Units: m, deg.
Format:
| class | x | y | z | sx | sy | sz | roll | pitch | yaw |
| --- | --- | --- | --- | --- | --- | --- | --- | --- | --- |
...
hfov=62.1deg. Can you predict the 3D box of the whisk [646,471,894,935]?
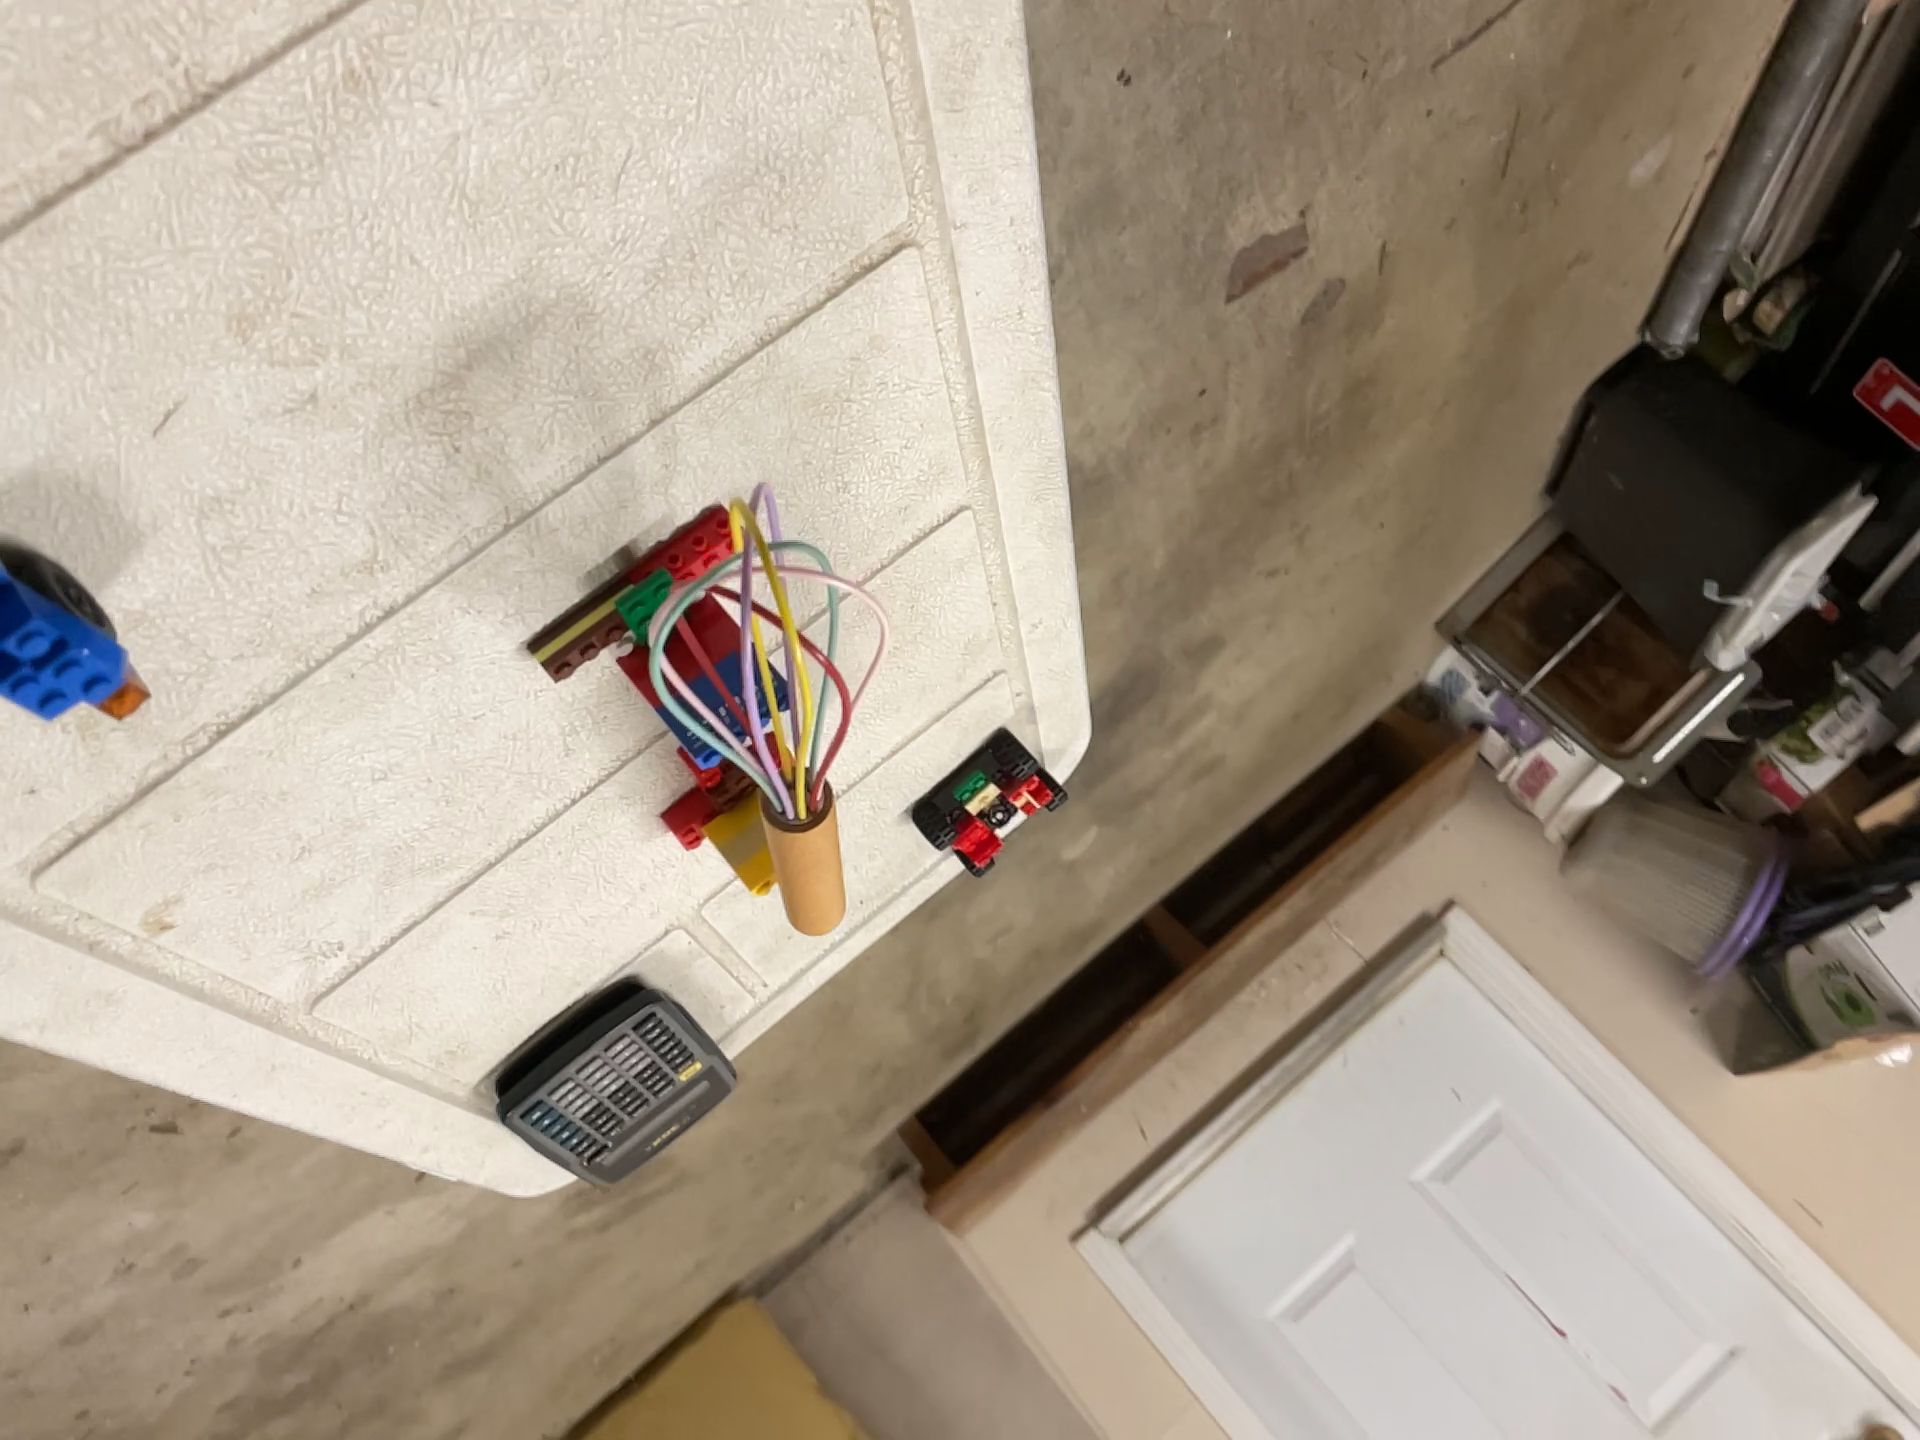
| class | x | y | z | sx | sy | sz | roll | pitch | yaw |
| --- | --- | --- | --- | --- | --- | --- | --- | --- | --- |
| whisk | -0.046 | 0.016 | 0.427 | 0.051 | 0.047 | 0.245 | -48 | 165 | -20 |
